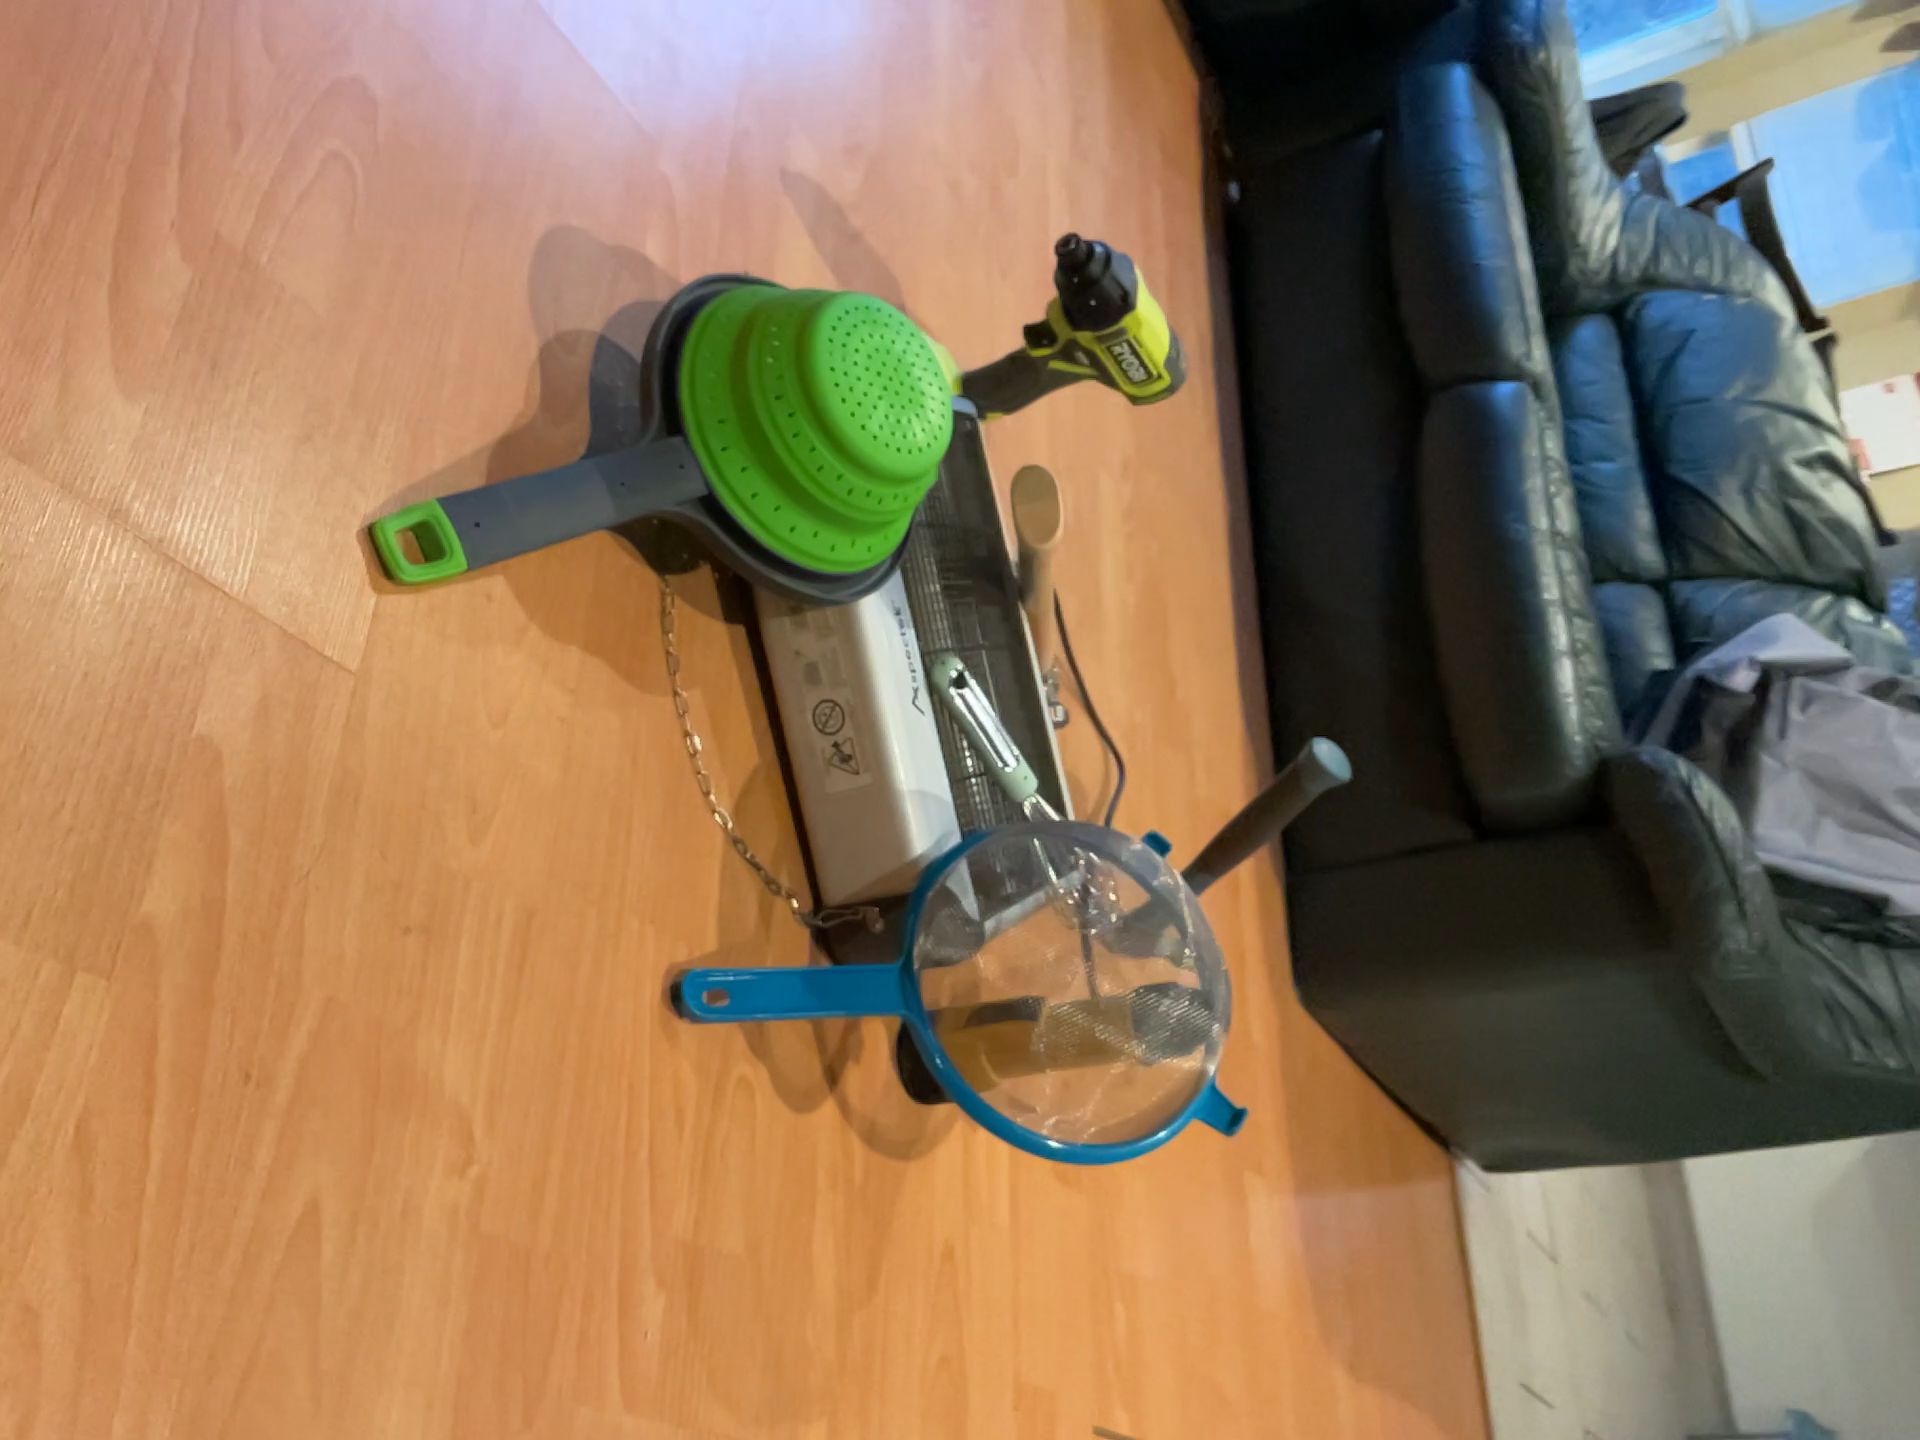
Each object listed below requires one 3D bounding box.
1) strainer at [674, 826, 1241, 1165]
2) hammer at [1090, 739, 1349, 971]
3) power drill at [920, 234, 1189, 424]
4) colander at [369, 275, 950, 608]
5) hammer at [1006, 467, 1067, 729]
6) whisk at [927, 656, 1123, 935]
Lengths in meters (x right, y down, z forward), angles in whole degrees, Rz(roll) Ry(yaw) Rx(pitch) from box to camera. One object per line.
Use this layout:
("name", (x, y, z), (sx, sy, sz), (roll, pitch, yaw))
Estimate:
("strainer", (0.018, 0.135, 0.889), (0.340, 0.095, 0.211), (3, 58, -28))
("hammer", (0.211, 0.113, 1.303), (0.128, 0.330, 0.033), (17, 52, -15))
("power drill", (0.042, -0.281, 1.221), (0.171, 0.223, 0.080), (39, 42, -52))
("colander", (-0.121, -0.147, 0.849), (0.397, 0.094, 0.204), (-29, 97, -48))
("hammer", (0.054, -0.105, 1.193), (0.410, 0.038, 0.146), (77, 6, -76))
("whisk", (0.044, 0.054, 1.067), (0.058, 0.059, 0.246), (-49, 123, -26))
